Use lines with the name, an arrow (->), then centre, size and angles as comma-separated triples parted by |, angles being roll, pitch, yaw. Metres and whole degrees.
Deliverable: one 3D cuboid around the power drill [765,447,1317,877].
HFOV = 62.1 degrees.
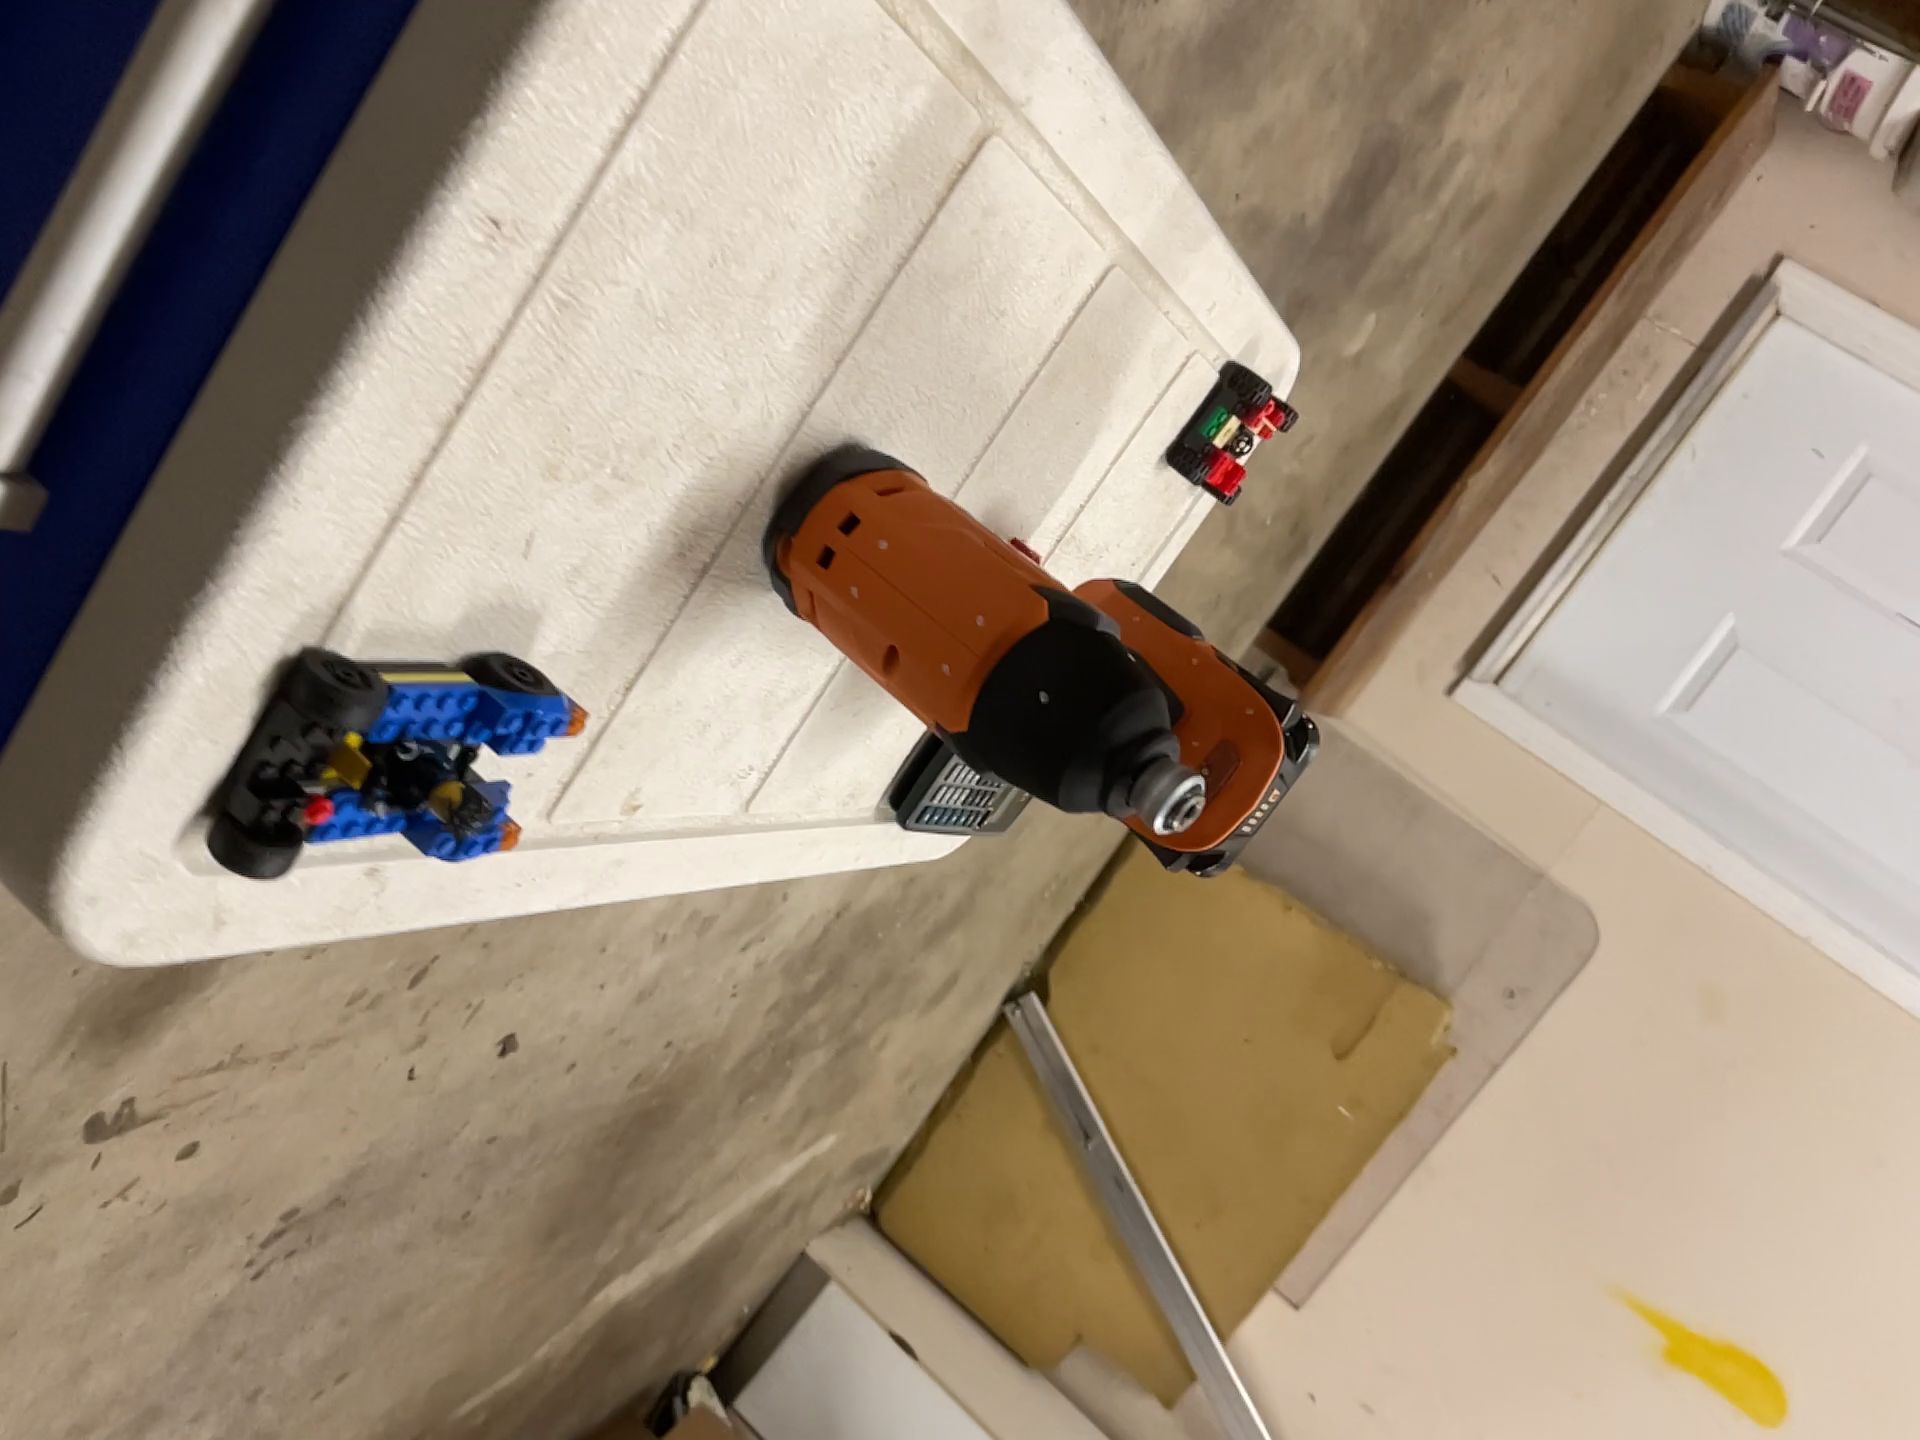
power drill -> 0.048, -0.006, 0.570 | 0.084, 0.164, 0.226 | -54, 151, 9
